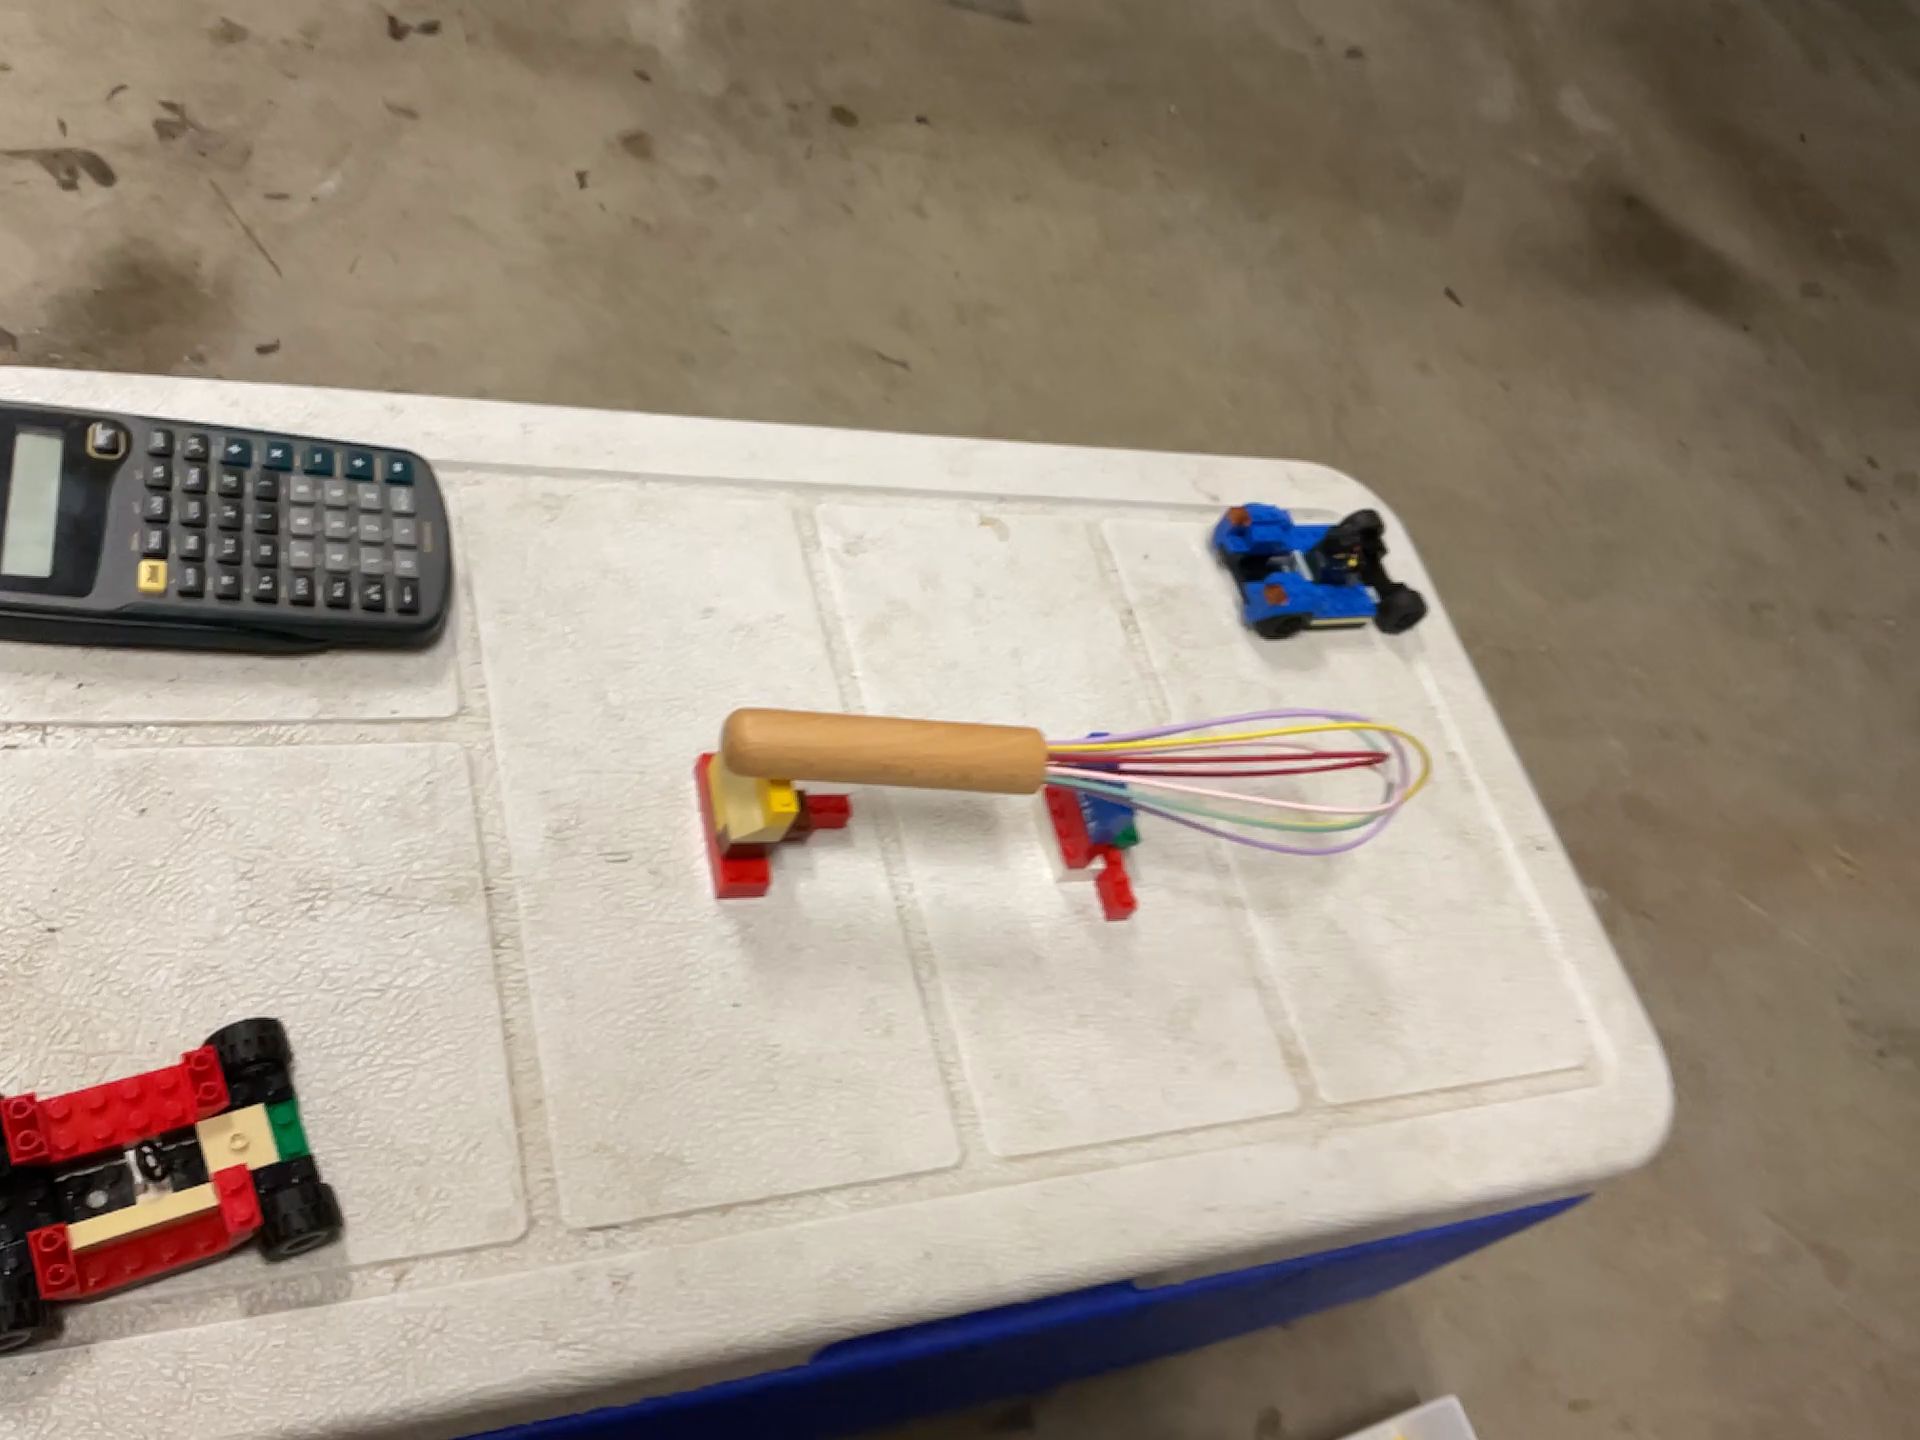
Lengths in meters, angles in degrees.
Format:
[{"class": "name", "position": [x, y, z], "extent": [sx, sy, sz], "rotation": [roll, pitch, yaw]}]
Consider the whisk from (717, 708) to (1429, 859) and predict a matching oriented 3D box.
[{"class": "whisk", "position": [0.045, 0.011, 0.510], "extent": [0.245, 0.047, 0.051], "rotation": [4, 69, -20]}]
